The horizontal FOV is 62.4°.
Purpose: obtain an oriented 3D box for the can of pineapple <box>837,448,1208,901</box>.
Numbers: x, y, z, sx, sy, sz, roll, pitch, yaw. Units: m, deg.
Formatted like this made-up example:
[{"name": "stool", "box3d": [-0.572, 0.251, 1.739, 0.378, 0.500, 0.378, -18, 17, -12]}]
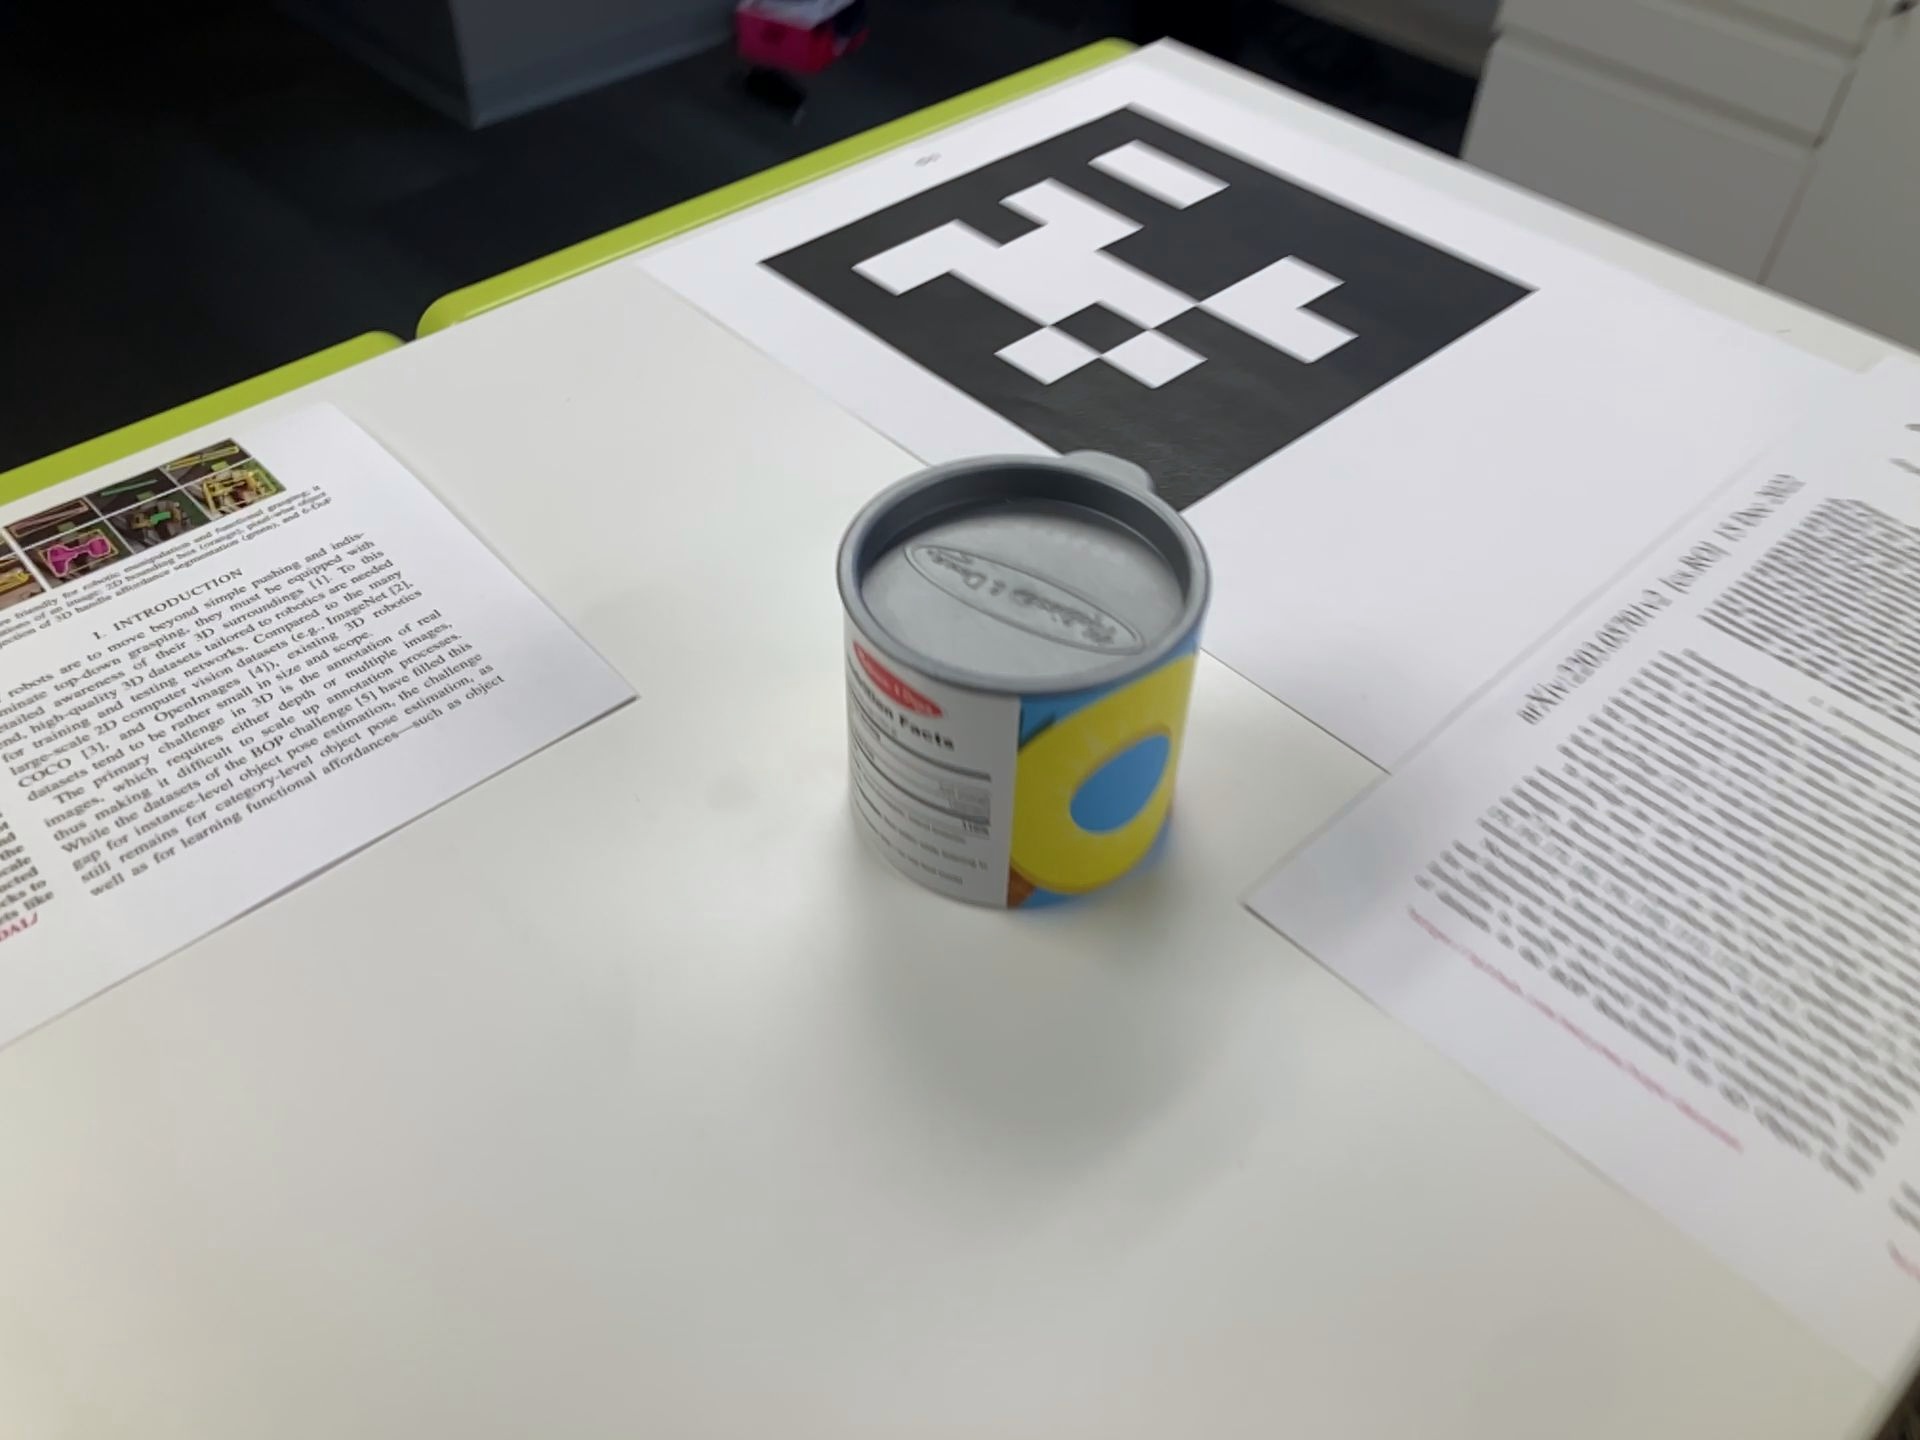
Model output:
[{"name": "can of pineapple", "box3d": [0.012, -0.009, 0.302, 0.071, 0.058, 0.071, 1, 46, -1]}]
